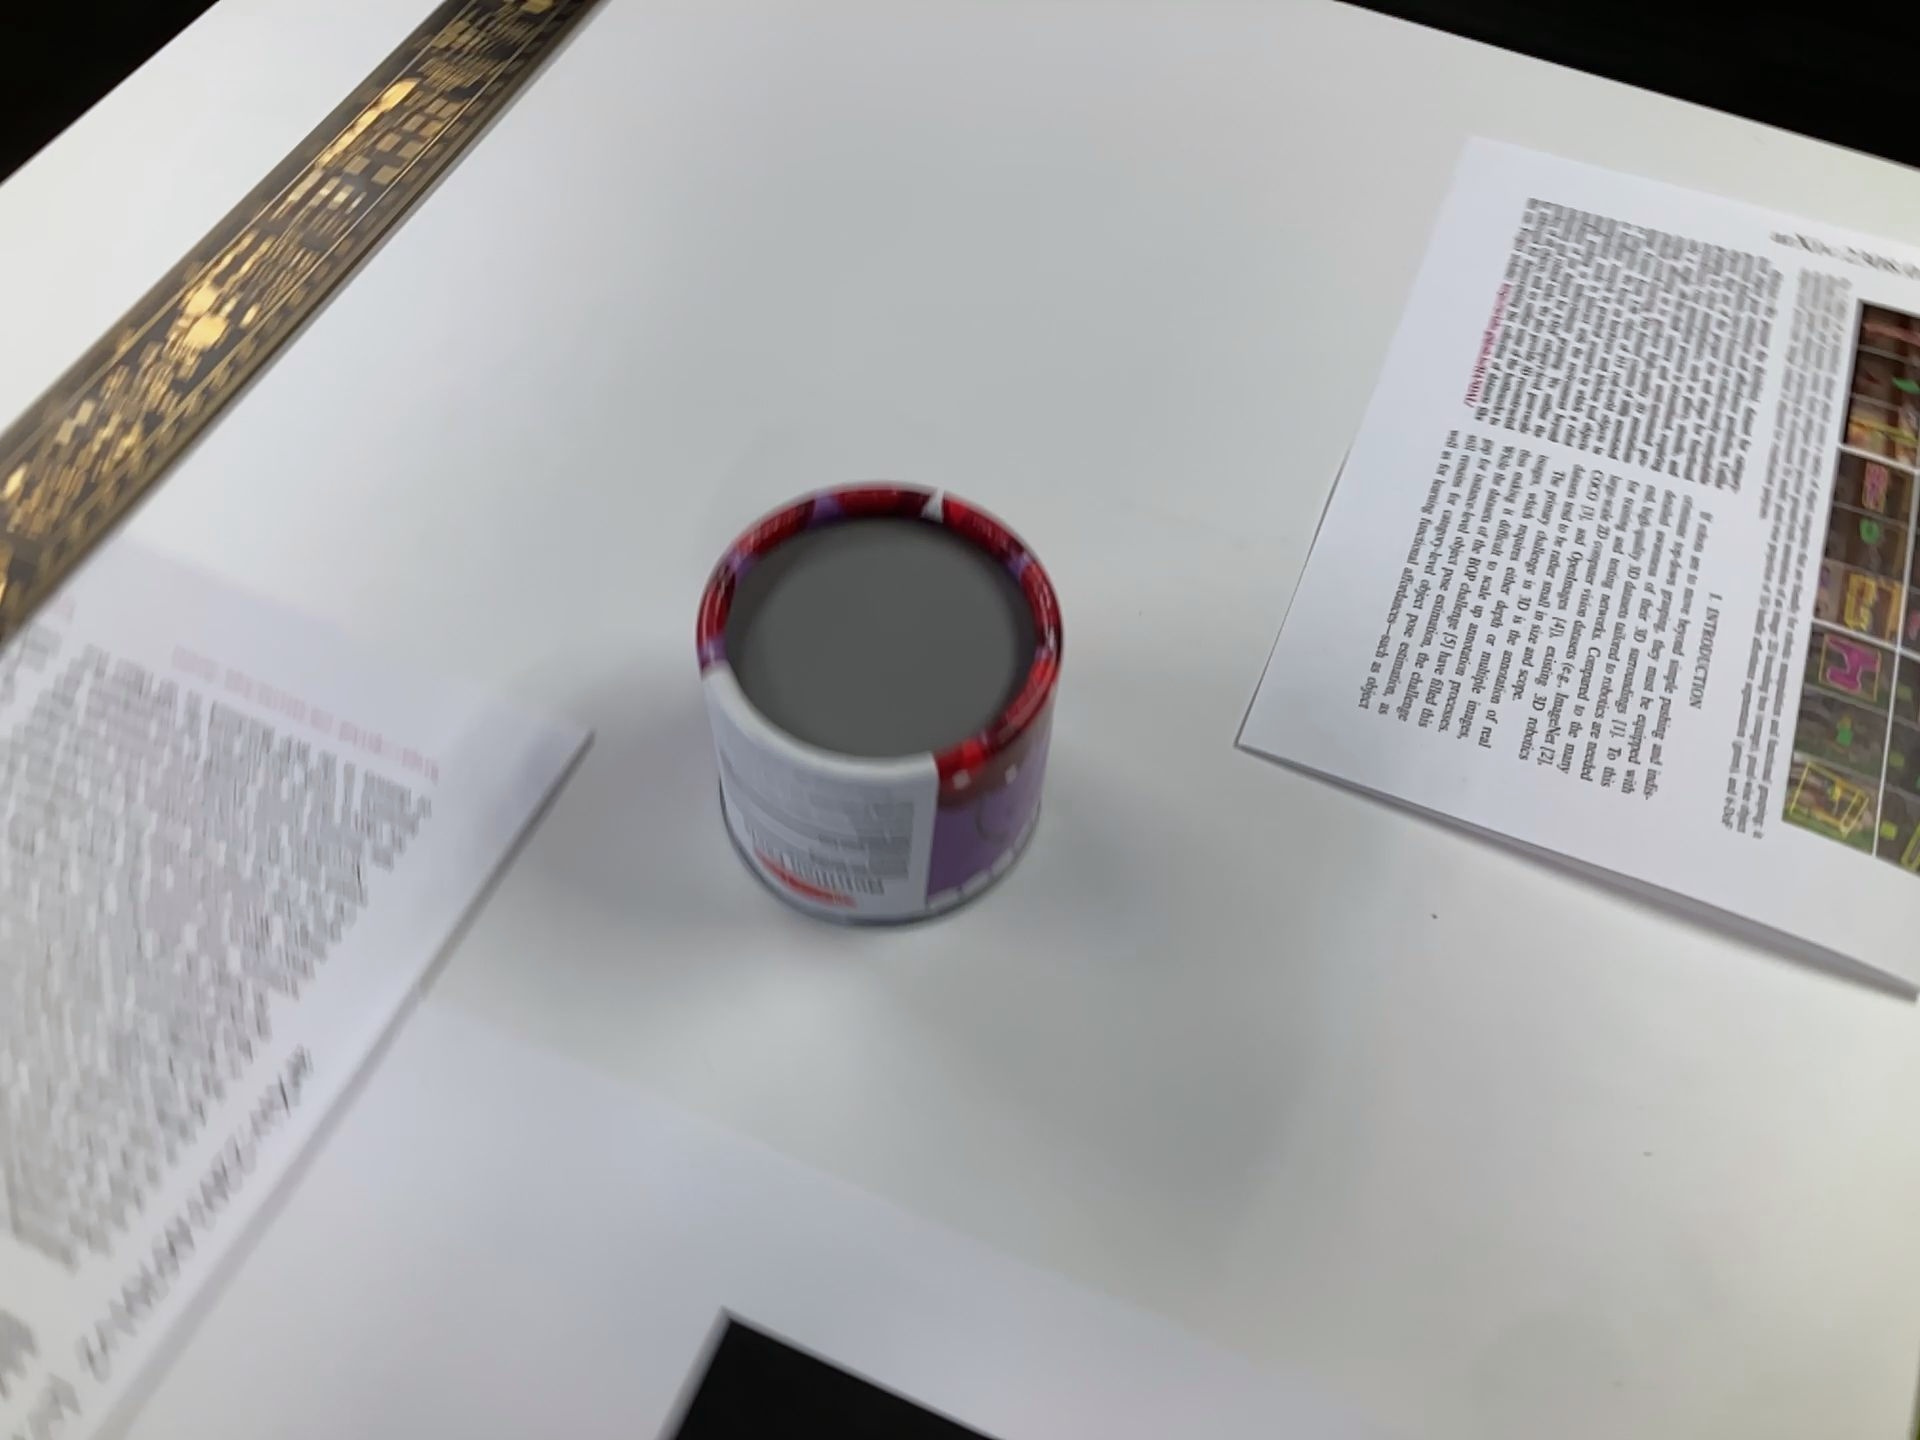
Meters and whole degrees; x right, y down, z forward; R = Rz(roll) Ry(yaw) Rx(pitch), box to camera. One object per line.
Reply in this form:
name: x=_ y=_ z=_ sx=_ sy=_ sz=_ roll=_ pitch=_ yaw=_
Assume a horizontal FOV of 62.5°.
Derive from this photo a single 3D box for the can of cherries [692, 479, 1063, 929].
can of cherries: x=-0.015 y=-0.005 z=0.302 sx=0.071 sy=0.058 sz=0.071 roll=1 pitch=57 yaw=-2
